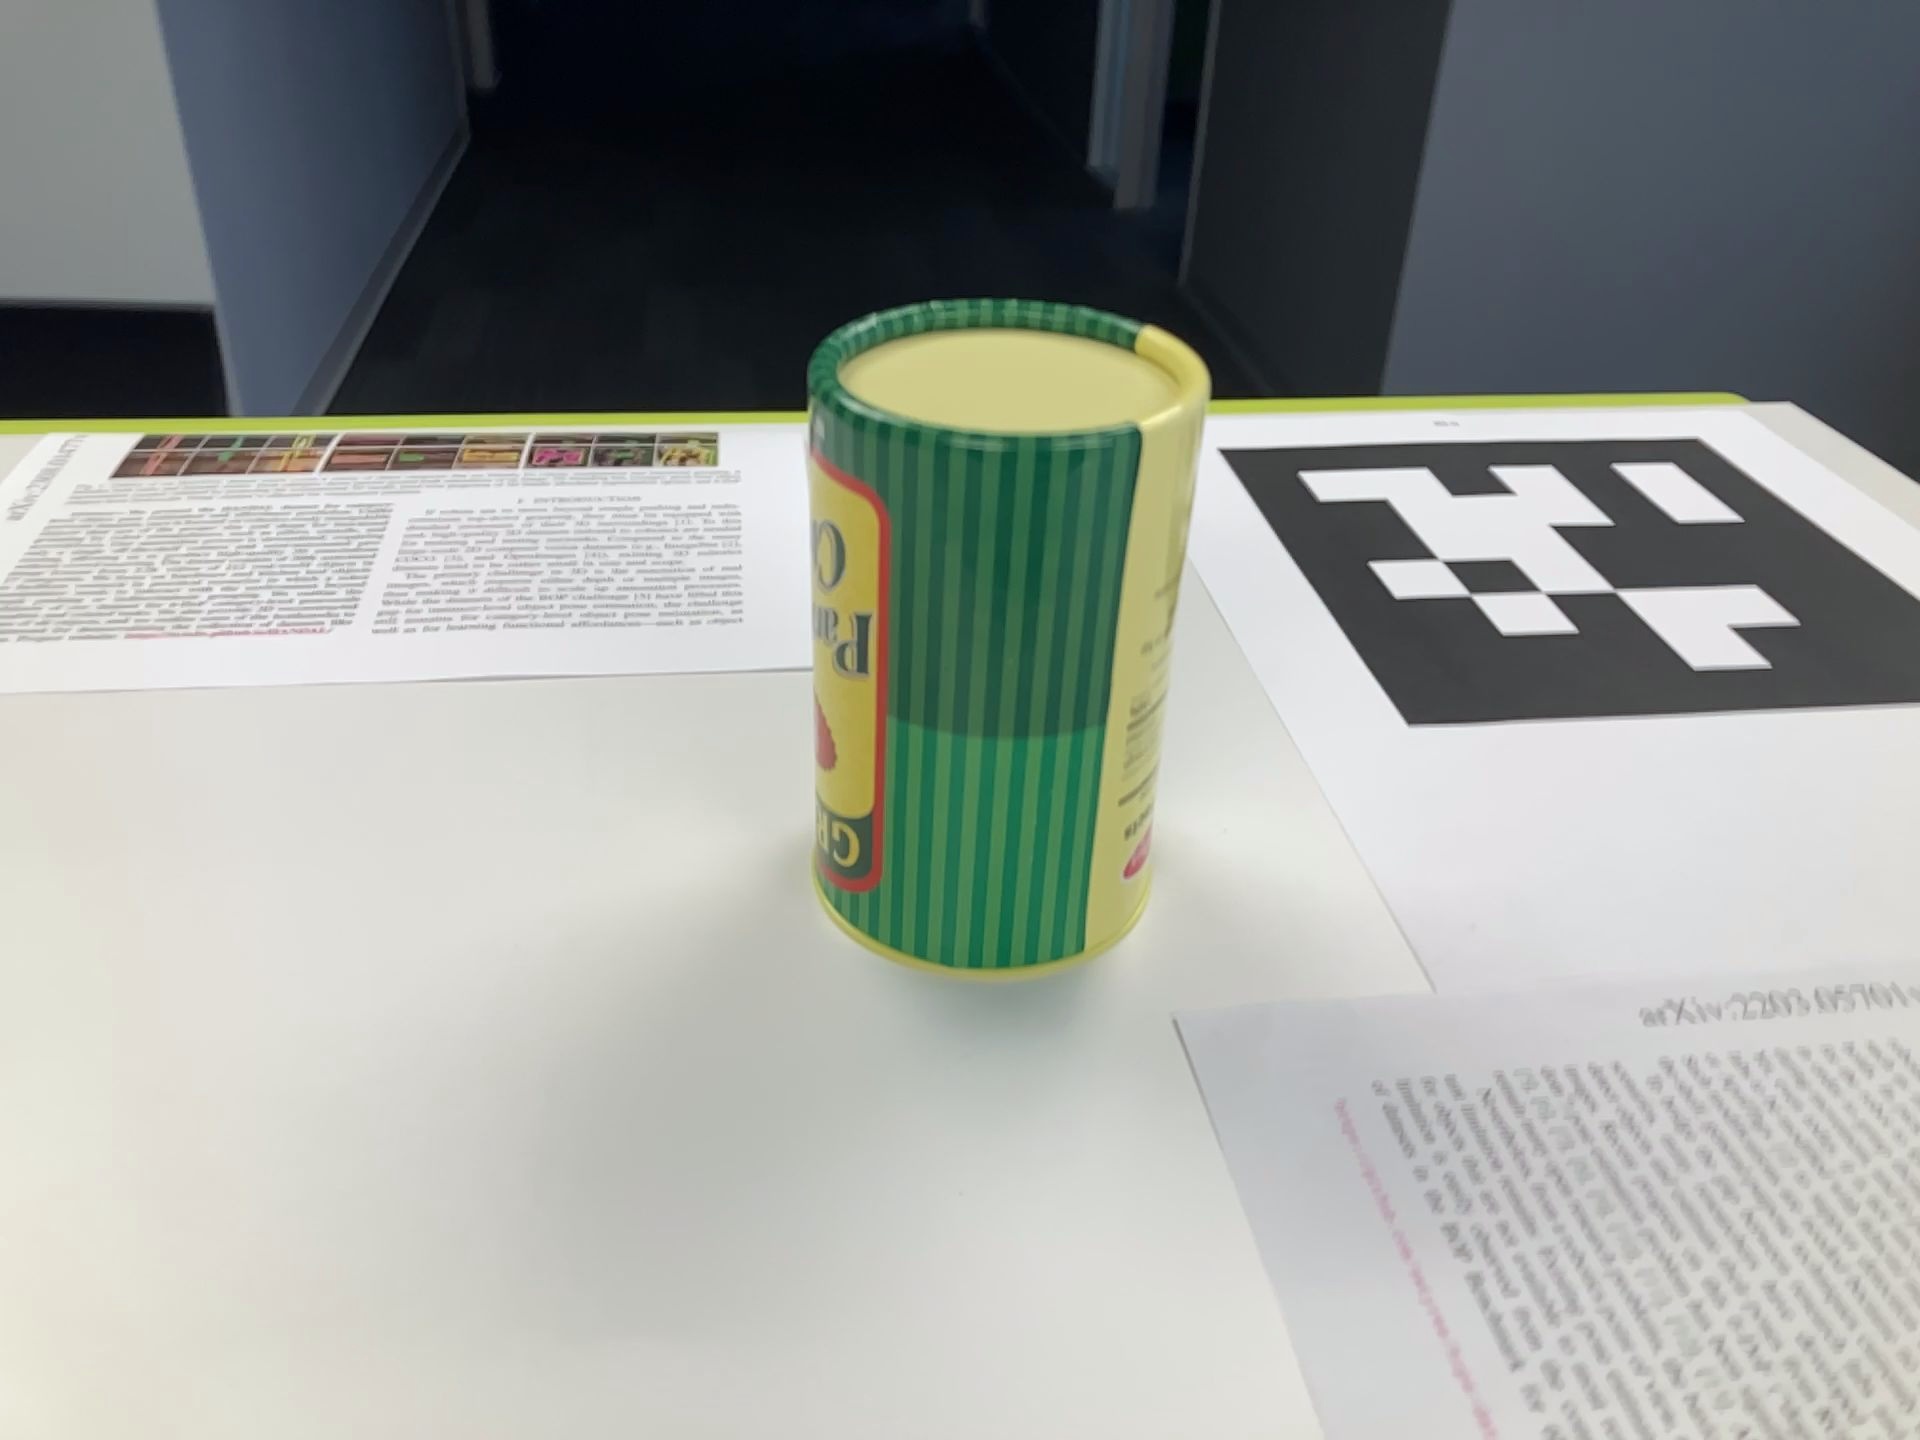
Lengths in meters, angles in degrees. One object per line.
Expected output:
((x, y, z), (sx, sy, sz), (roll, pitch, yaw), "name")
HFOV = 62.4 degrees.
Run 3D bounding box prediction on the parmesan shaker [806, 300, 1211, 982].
((0.006, -0.016, 0.283), (0.071, 0.103, 0.071), (1, 31, -1), "parmesan shaker")
